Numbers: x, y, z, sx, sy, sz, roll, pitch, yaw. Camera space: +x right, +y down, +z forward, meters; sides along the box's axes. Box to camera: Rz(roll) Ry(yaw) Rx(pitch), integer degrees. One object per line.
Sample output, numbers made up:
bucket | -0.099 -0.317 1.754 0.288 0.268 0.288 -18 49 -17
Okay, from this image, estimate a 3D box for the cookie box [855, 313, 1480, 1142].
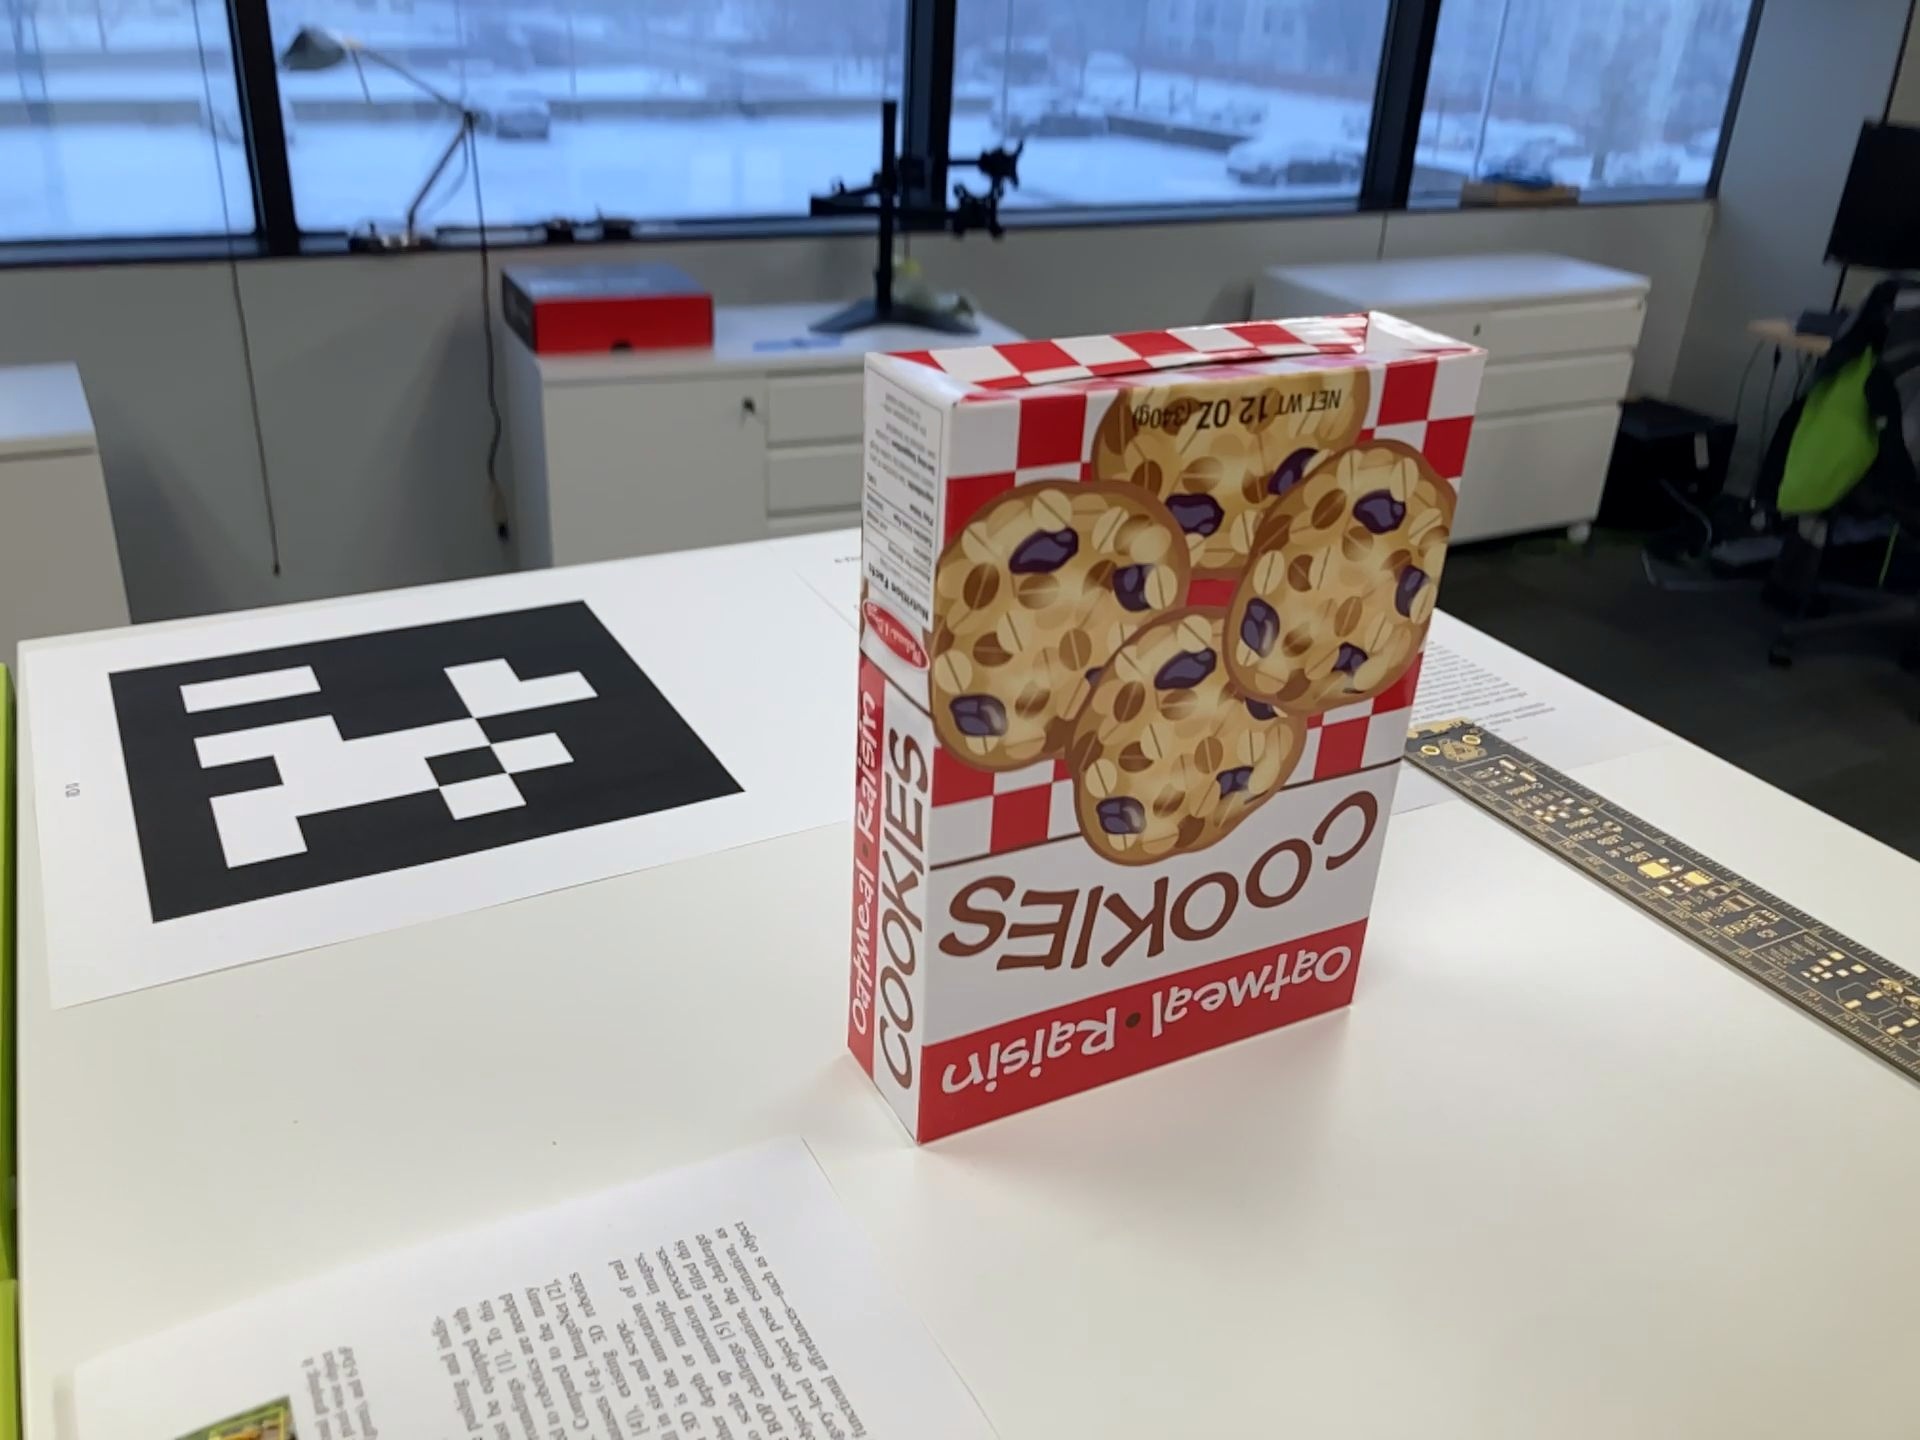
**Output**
cookie box | 0.040 0.002 0.350 0.123 0.167 0.040 -11 31 -25
